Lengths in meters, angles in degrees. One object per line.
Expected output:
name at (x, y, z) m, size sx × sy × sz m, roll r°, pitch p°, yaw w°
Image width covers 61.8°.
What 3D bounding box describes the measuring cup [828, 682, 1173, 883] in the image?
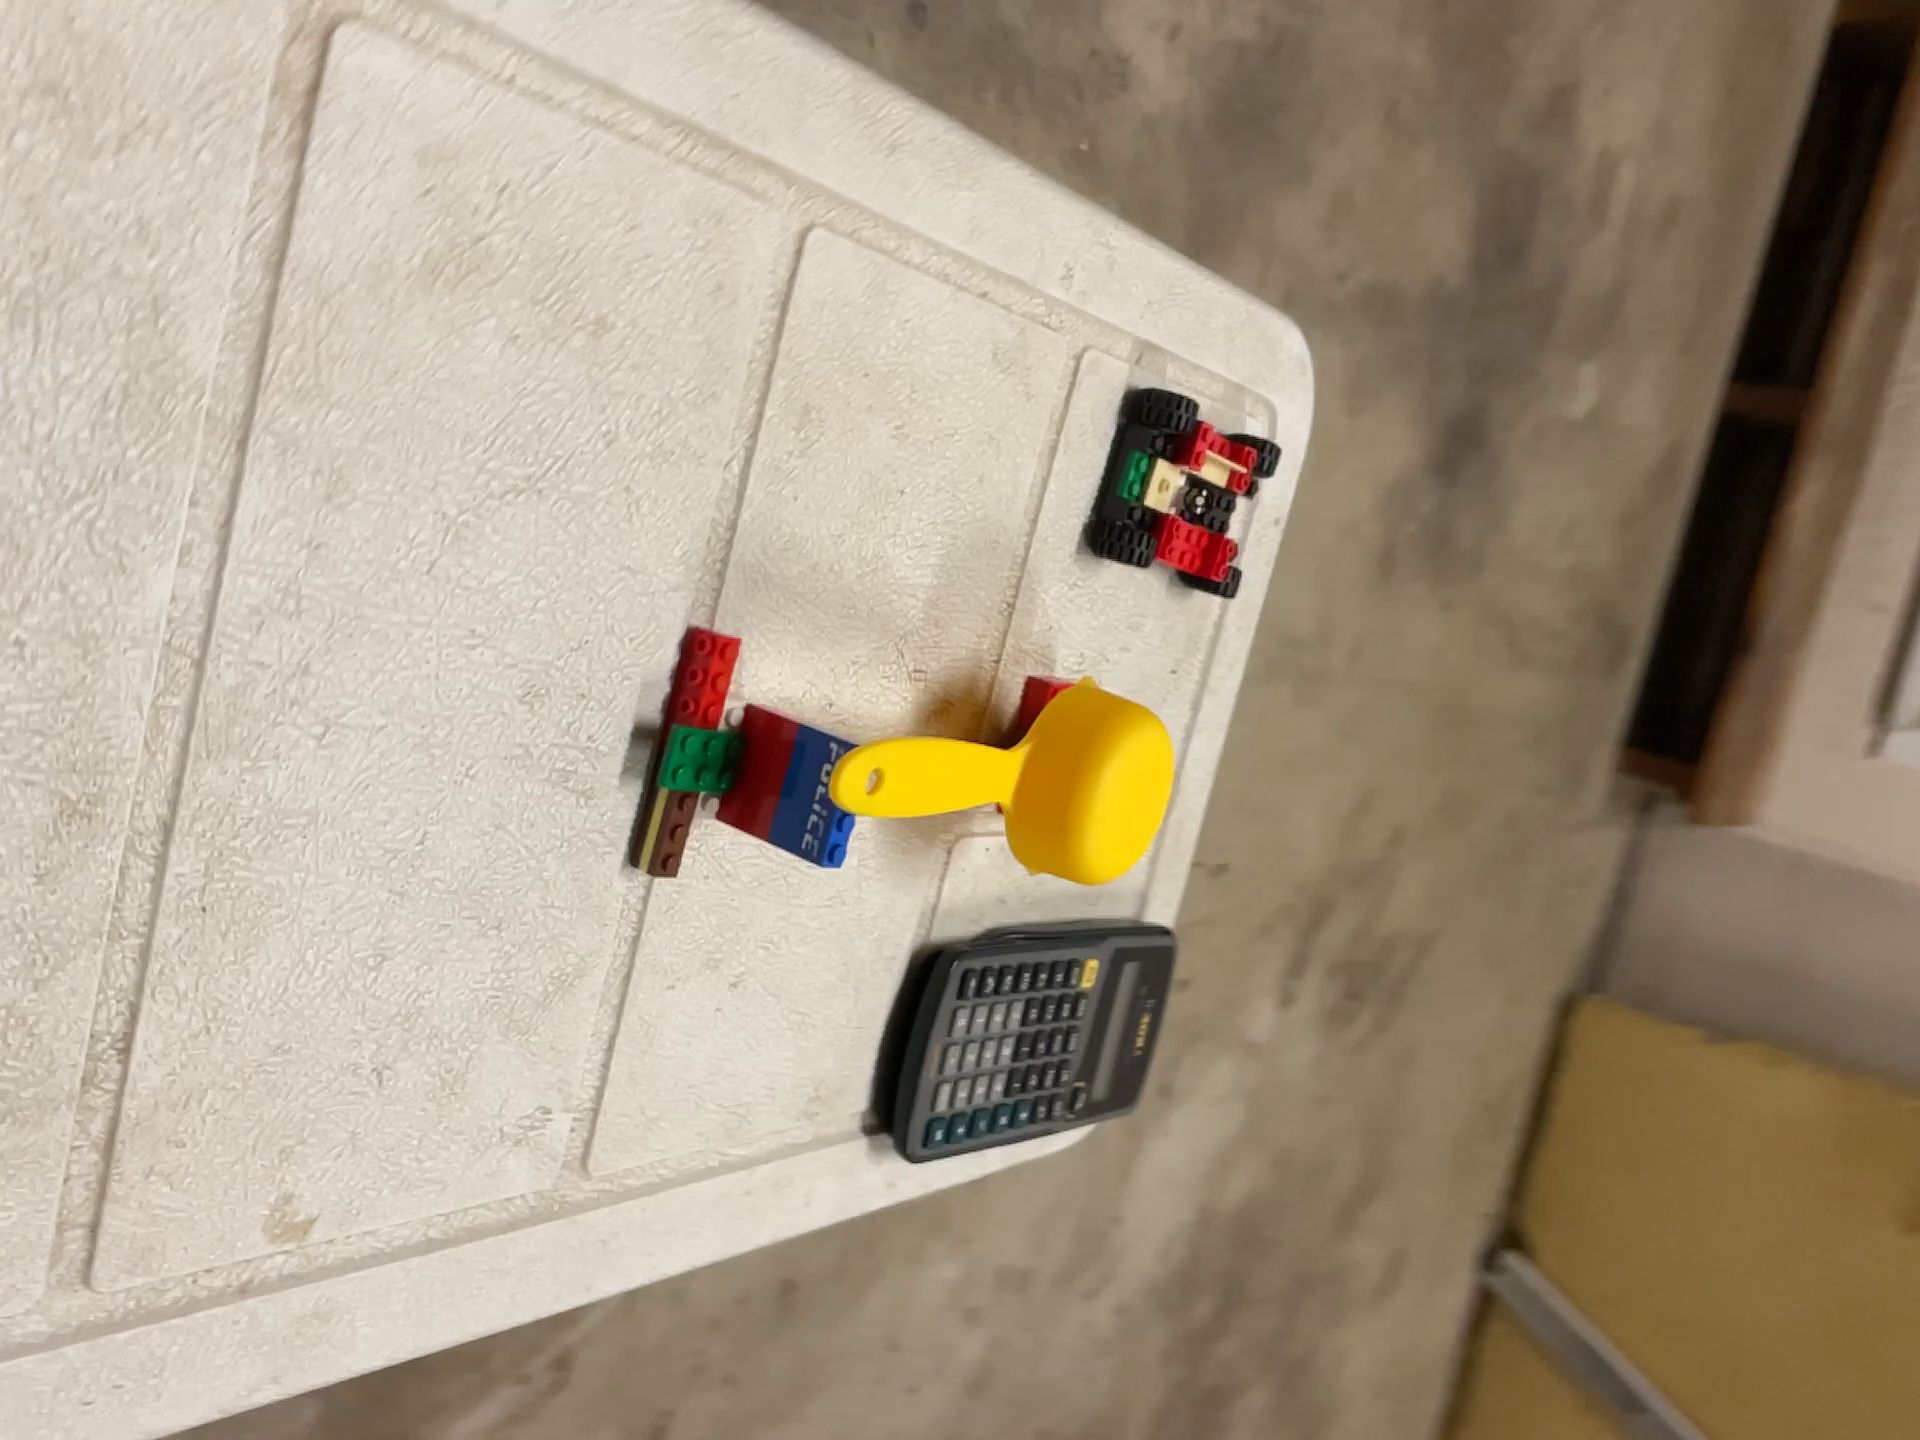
measuring cup at (0.018, 0.020, 0.446) m, size 0.156 × 0.029 × 0.062 m, roll 4°, pitch 103°, yaw -60°
